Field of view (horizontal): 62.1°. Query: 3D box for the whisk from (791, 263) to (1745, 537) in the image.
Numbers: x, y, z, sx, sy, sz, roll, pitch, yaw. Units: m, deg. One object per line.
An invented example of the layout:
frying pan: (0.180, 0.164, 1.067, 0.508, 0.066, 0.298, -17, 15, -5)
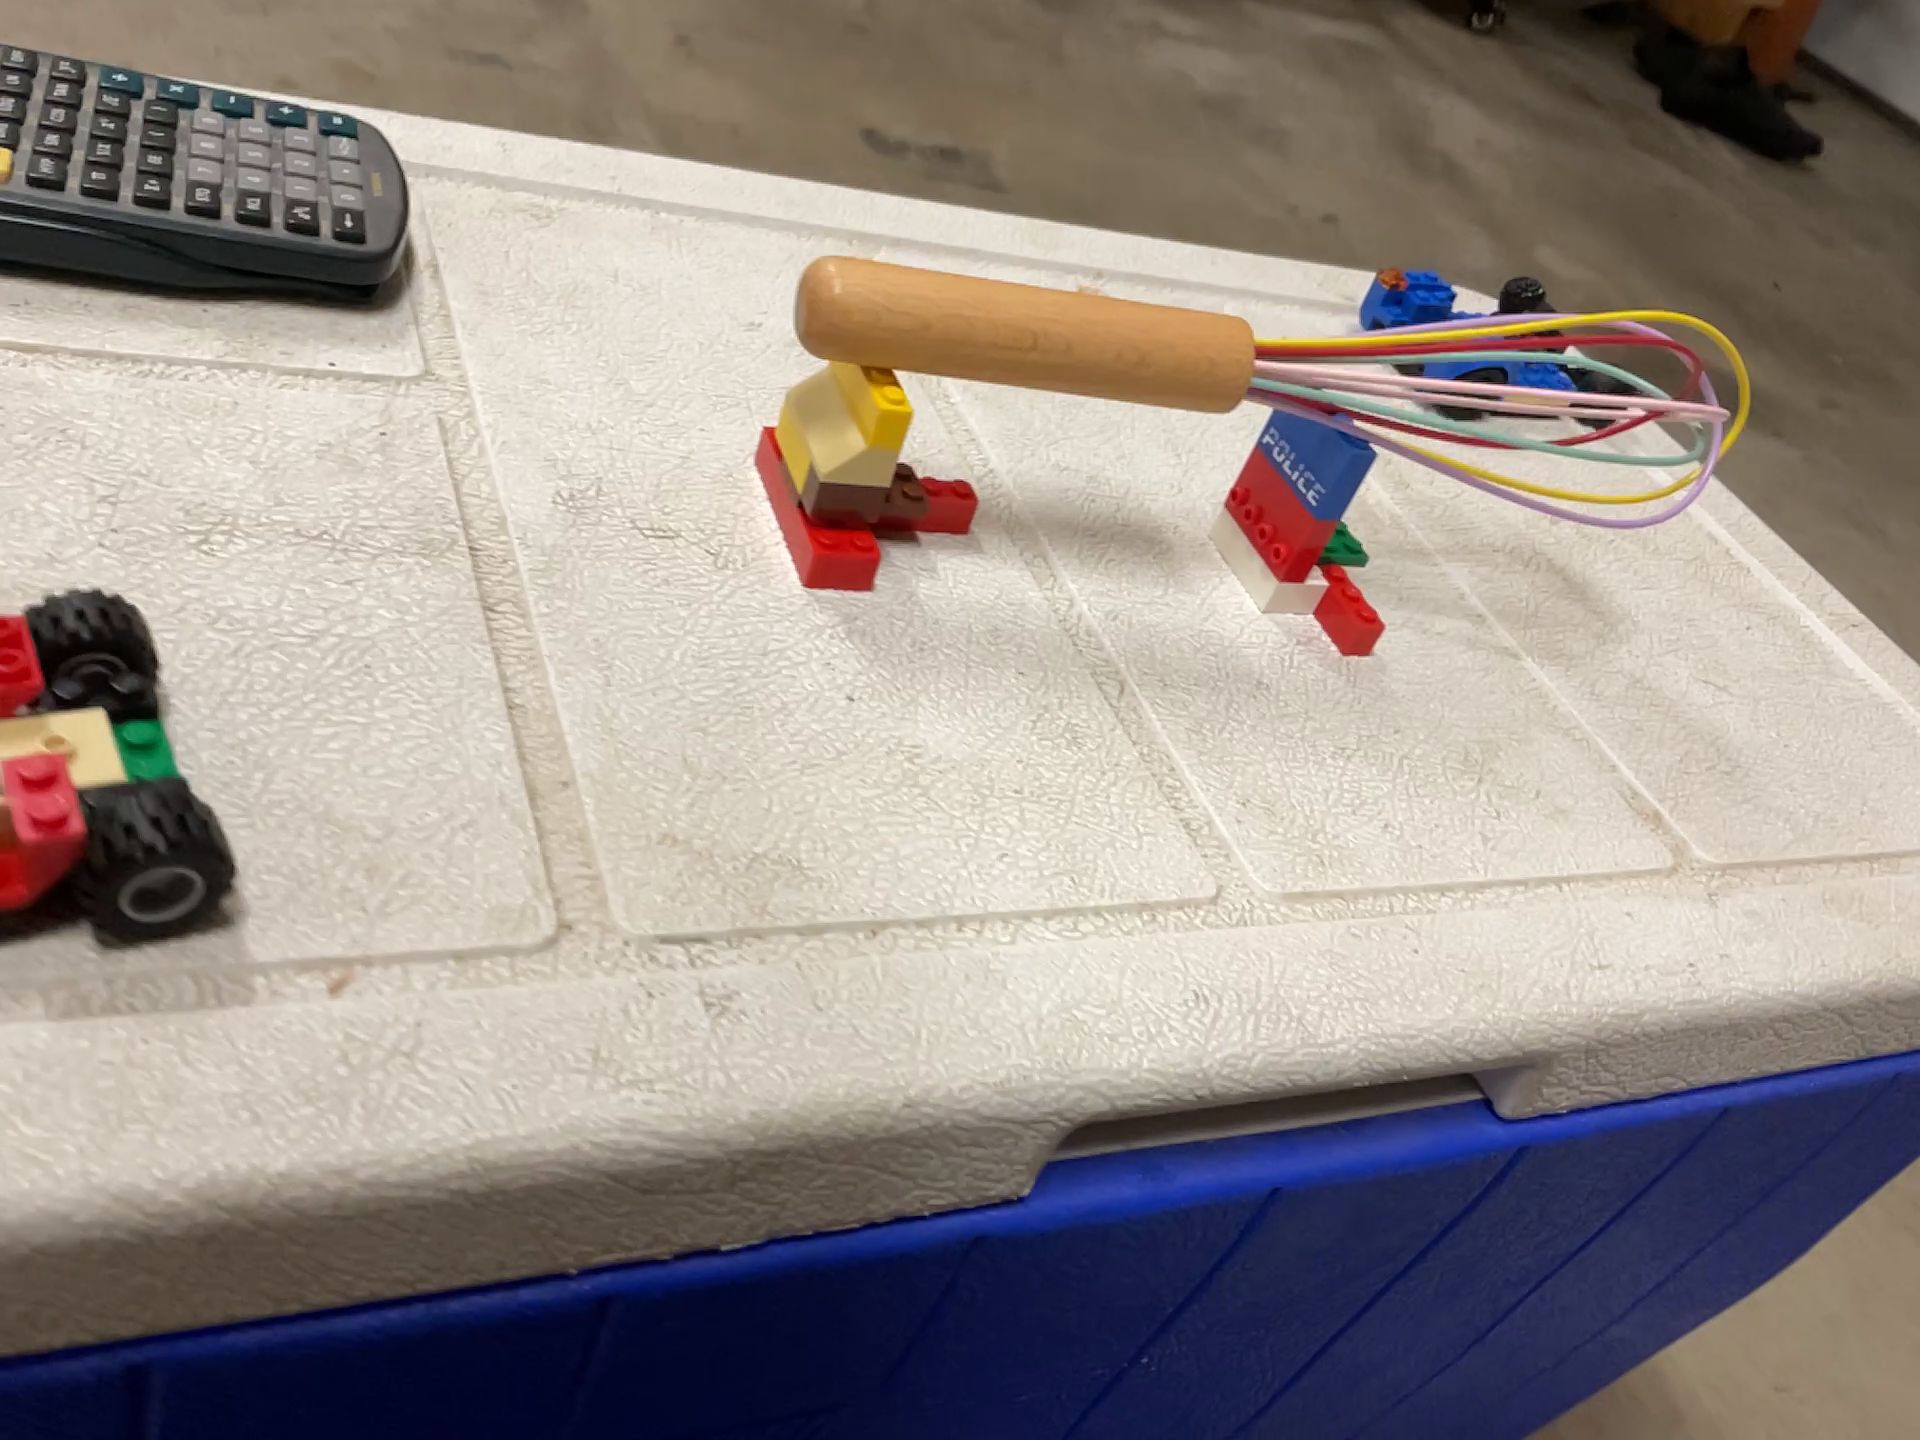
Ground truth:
whisk: (0.082, -0.082, 0.367, 0.245, 0.047, 0.051, 3, 54, -20)
